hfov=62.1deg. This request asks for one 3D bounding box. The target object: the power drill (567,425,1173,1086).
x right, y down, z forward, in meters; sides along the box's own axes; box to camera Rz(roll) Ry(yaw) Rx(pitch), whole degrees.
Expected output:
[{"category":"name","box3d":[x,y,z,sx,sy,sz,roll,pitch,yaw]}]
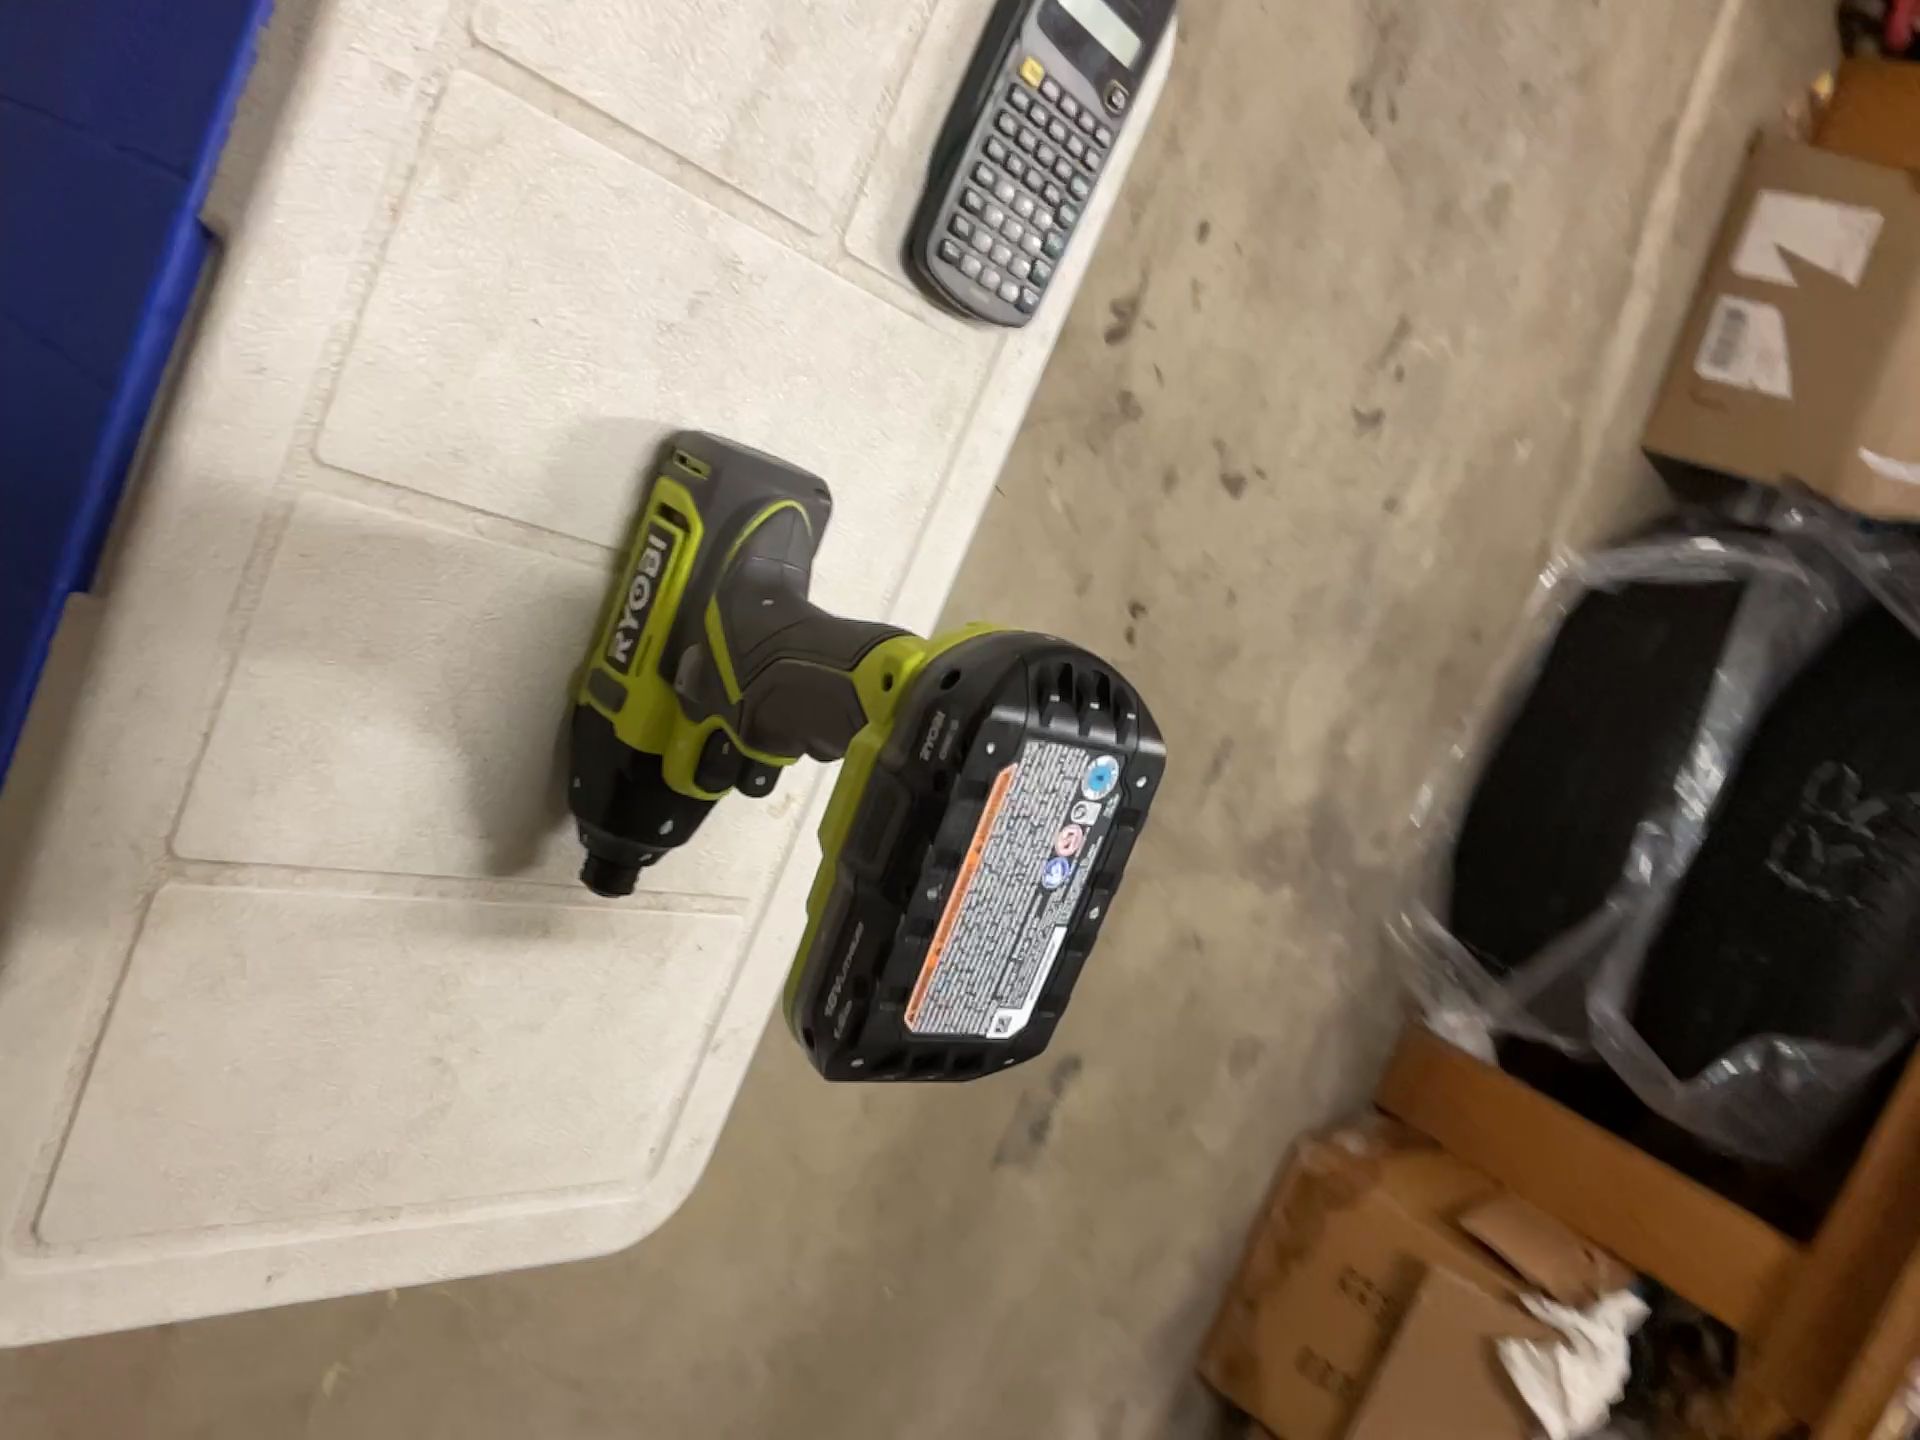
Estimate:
[{"category":"power drill","box3d":[-0.051,0.015,0.512,0.080,0.223,0.171,13,103,-42]}]
